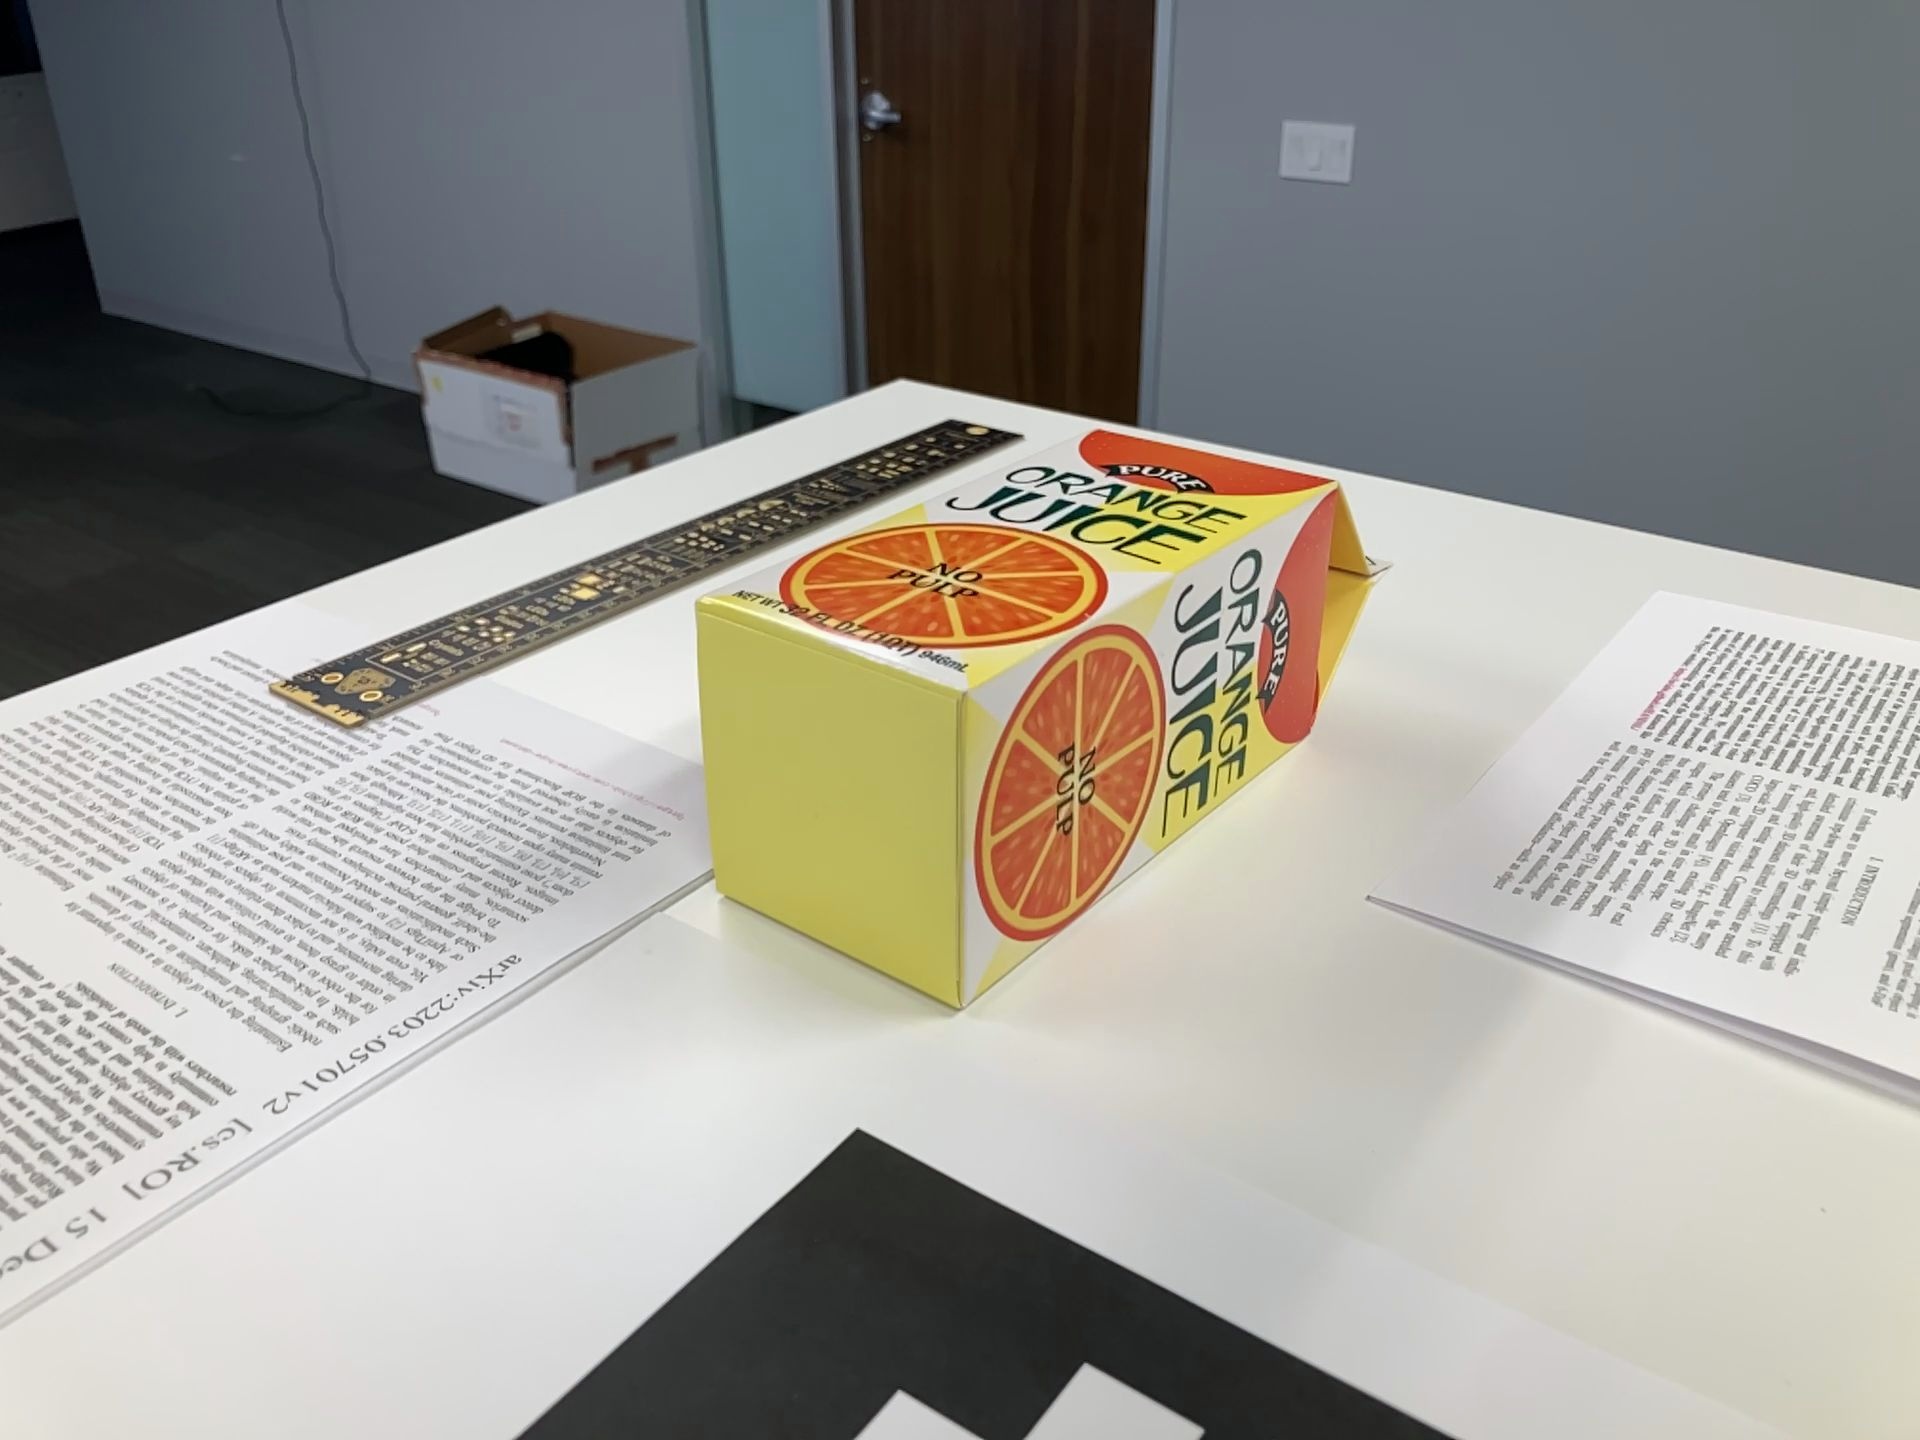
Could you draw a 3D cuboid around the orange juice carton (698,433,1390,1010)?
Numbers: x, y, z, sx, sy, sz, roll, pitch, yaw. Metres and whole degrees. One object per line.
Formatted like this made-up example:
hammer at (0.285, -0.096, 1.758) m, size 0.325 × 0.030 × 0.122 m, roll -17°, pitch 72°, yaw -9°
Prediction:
orange juice carton at (0.032, -0.017, 0.387) m, size 0.072 × 0.073 × 0.192 m, roll 19°, pitch 33°, yaw 34°
